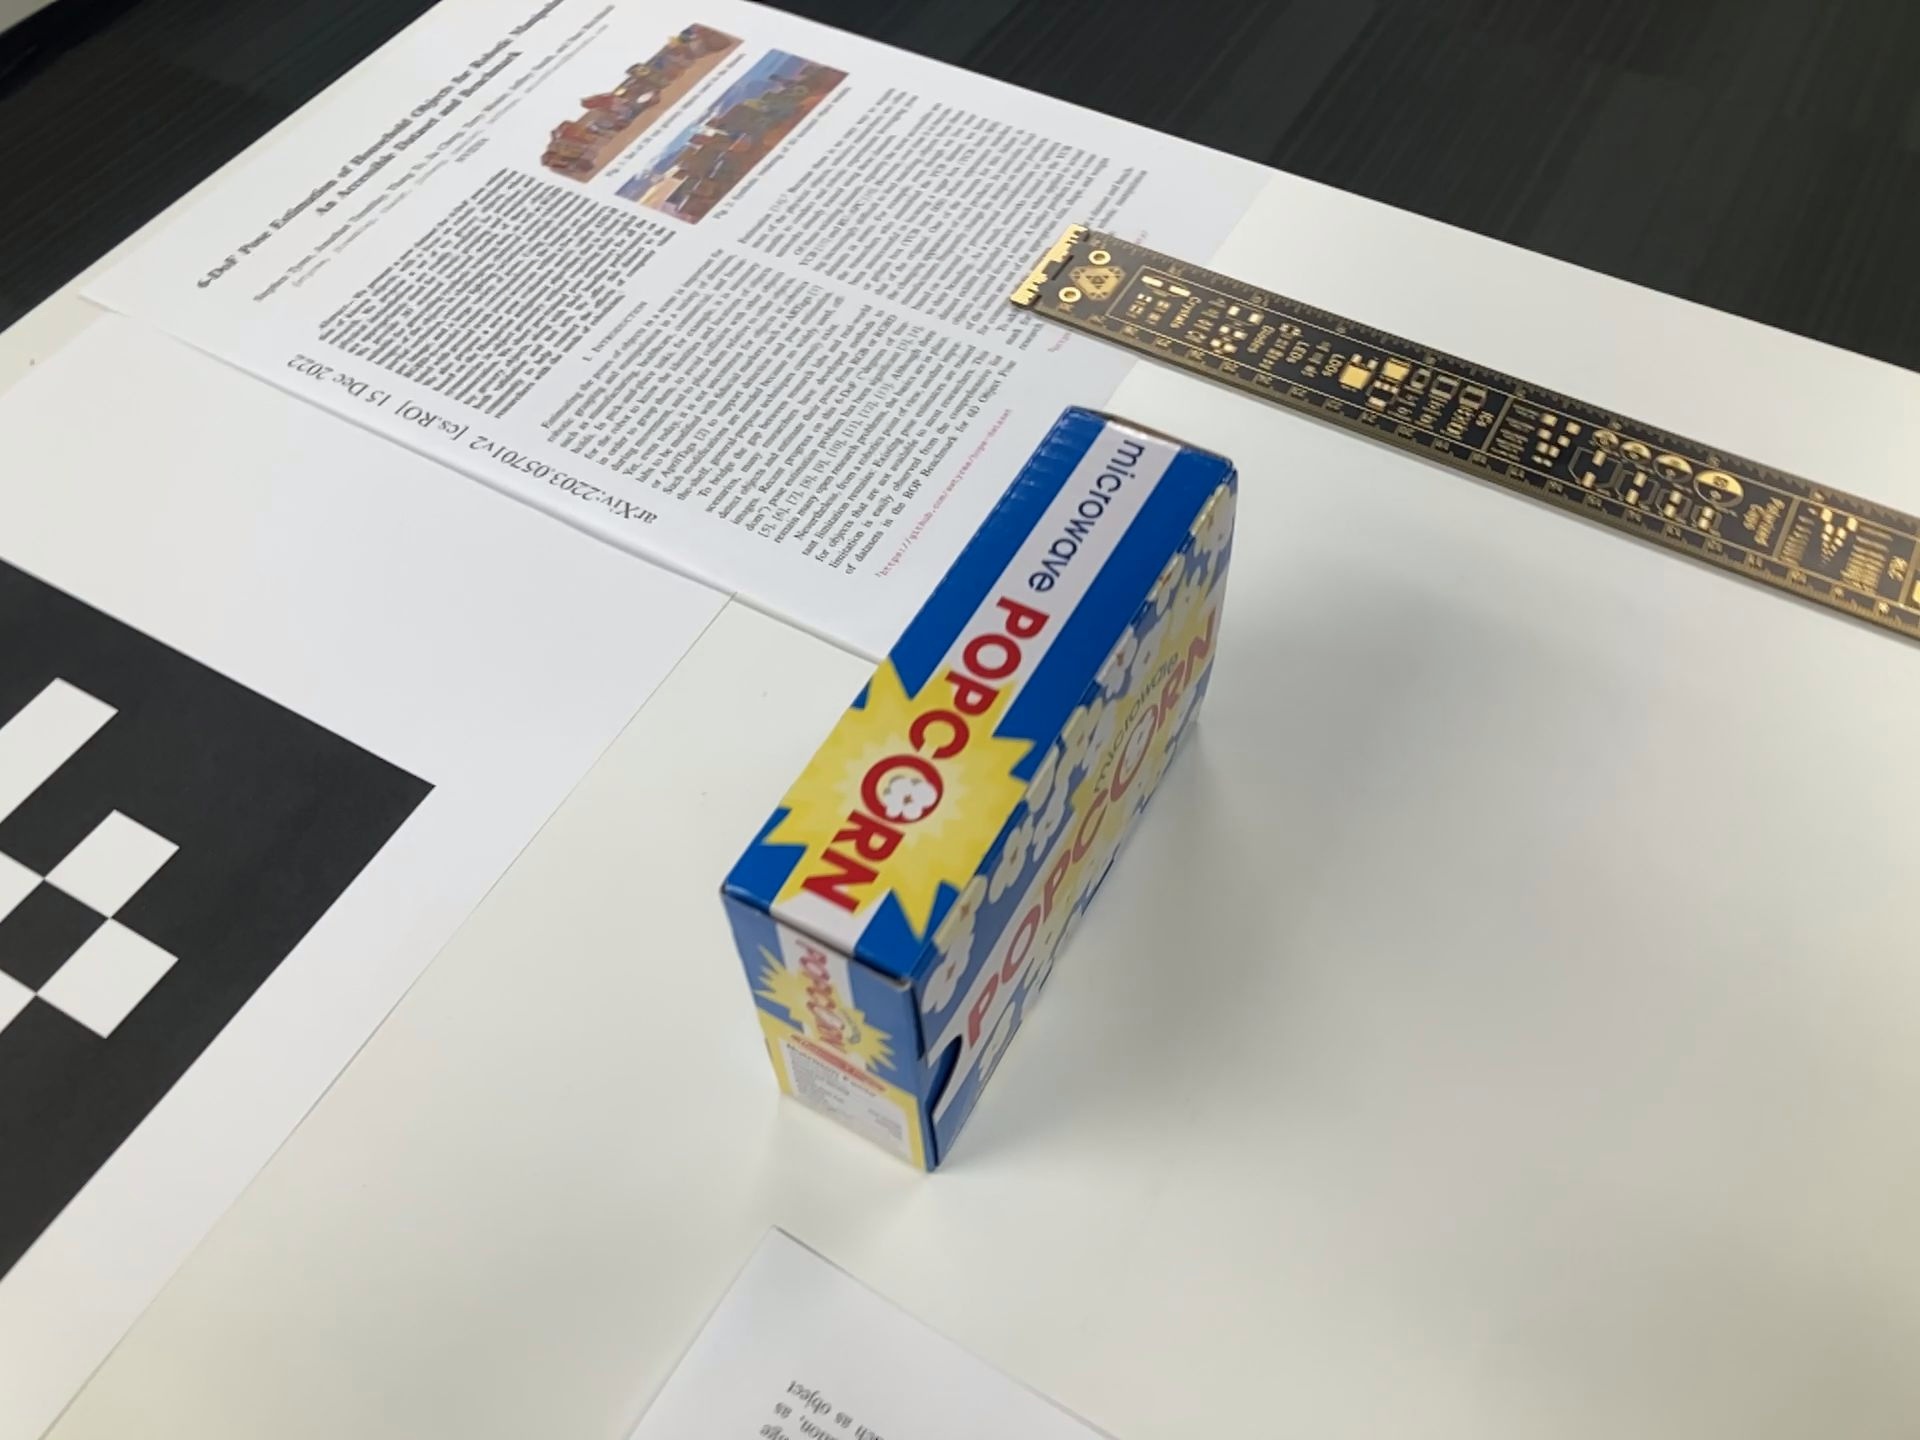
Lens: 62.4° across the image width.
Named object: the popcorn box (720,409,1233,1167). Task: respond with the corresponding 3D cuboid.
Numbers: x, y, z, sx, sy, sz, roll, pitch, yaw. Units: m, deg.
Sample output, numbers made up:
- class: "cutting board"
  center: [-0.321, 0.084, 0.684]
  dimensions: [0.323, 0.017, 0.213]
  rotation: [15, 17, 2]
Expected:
- class: "popcorn box"
  center: [0.008, 0.012, 0.313]
  dimensions: [0.038, 0.085, 0.126]
  rotation: [25, 59, 17]
